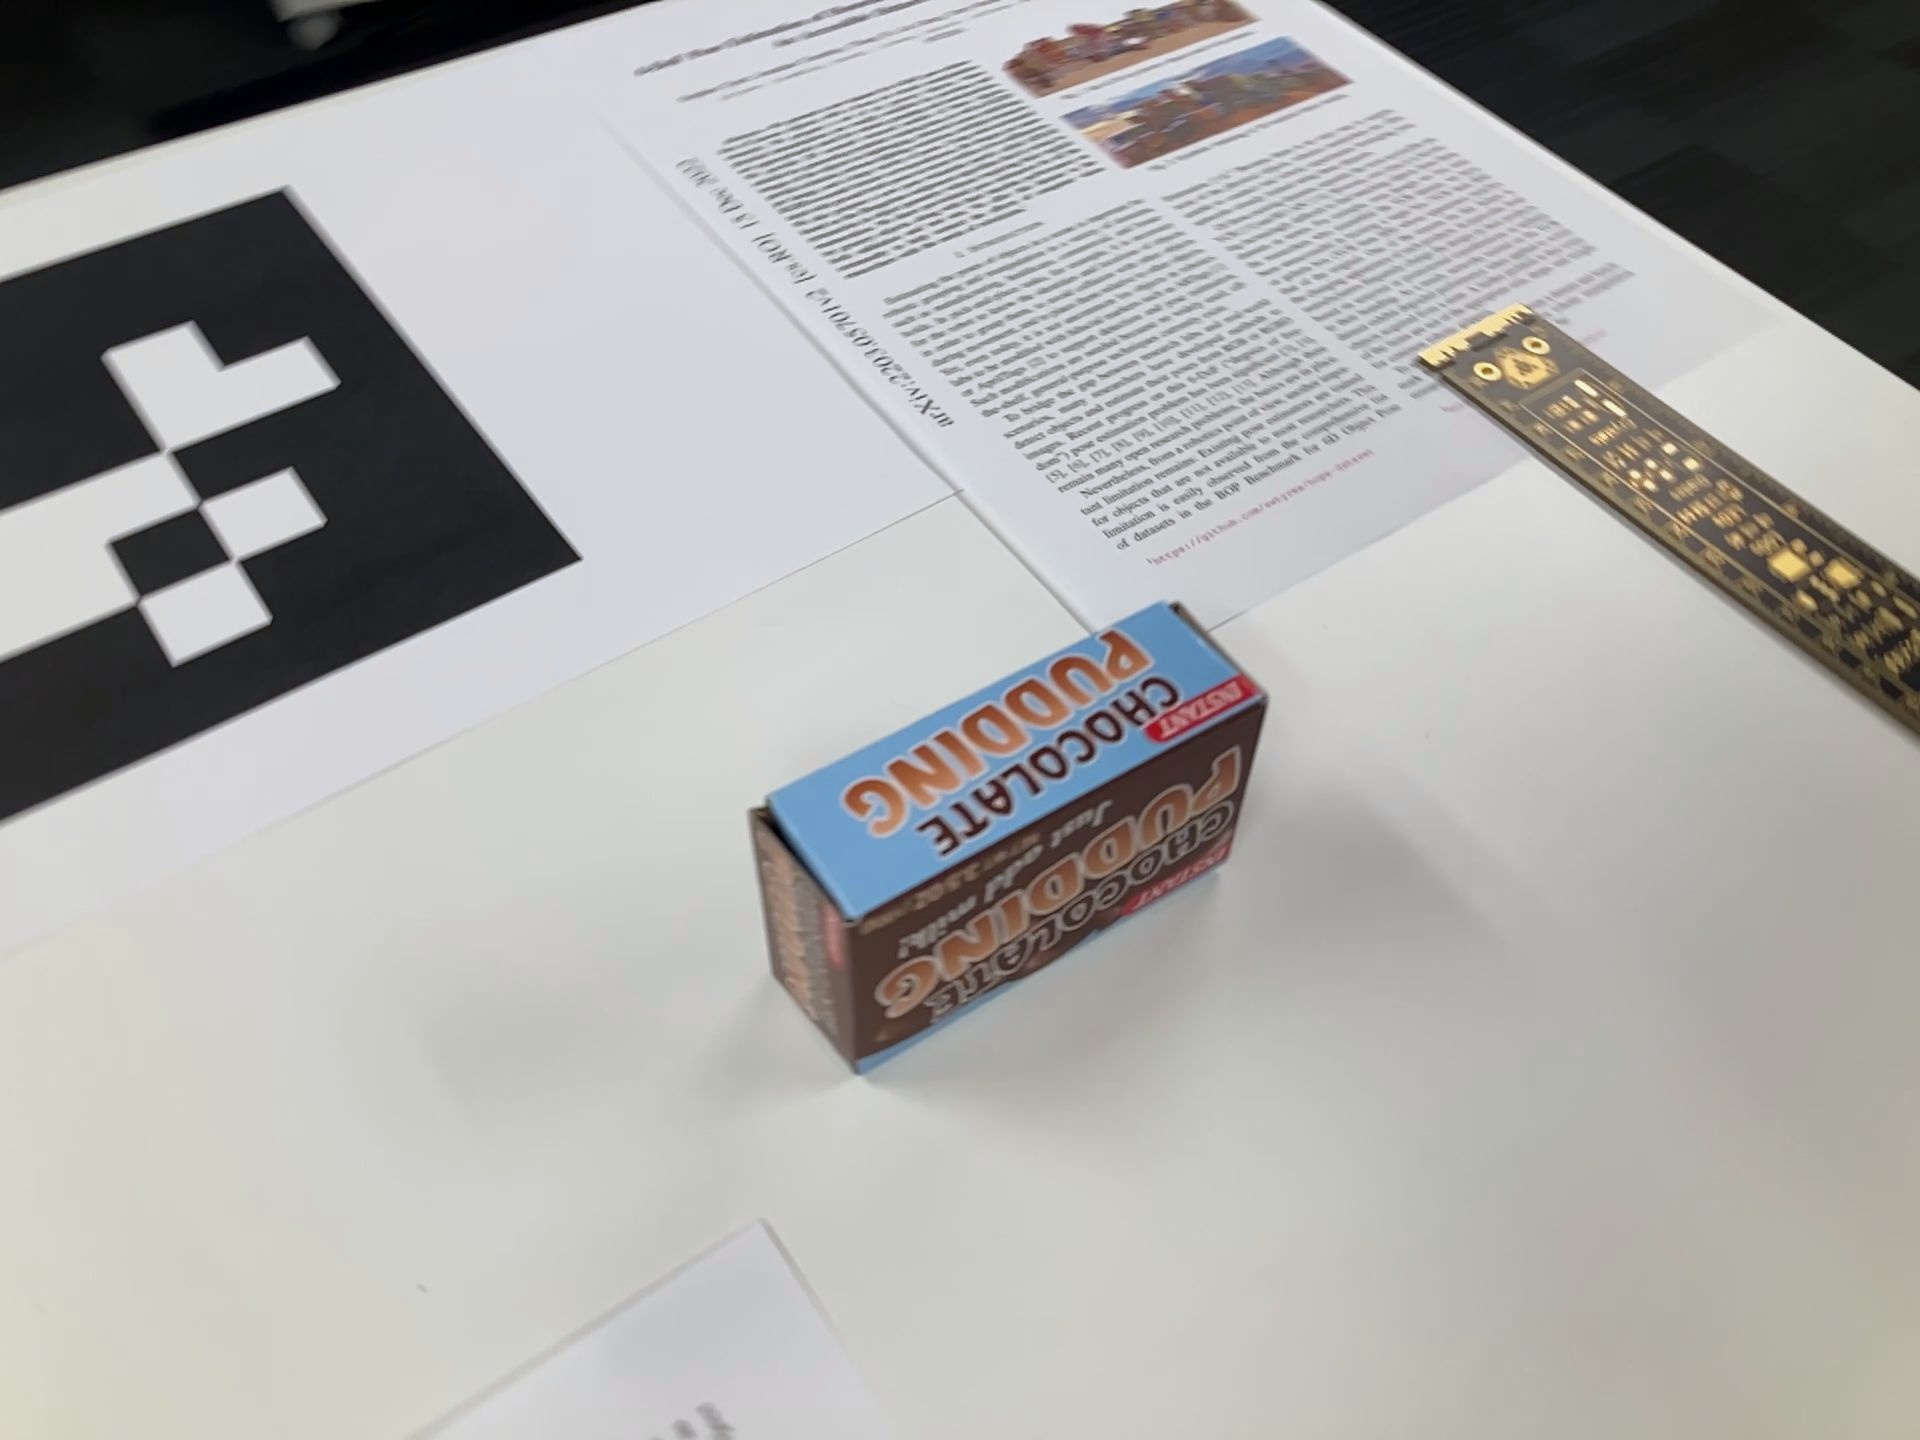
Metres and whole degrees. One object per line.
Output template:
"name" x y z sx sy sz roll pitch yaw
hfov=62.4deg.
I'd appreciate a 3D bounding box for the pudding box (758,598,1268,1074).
"pudding box" 0.009 0.019 0.273 0.083 0.049 0.030 -27 56 -22
